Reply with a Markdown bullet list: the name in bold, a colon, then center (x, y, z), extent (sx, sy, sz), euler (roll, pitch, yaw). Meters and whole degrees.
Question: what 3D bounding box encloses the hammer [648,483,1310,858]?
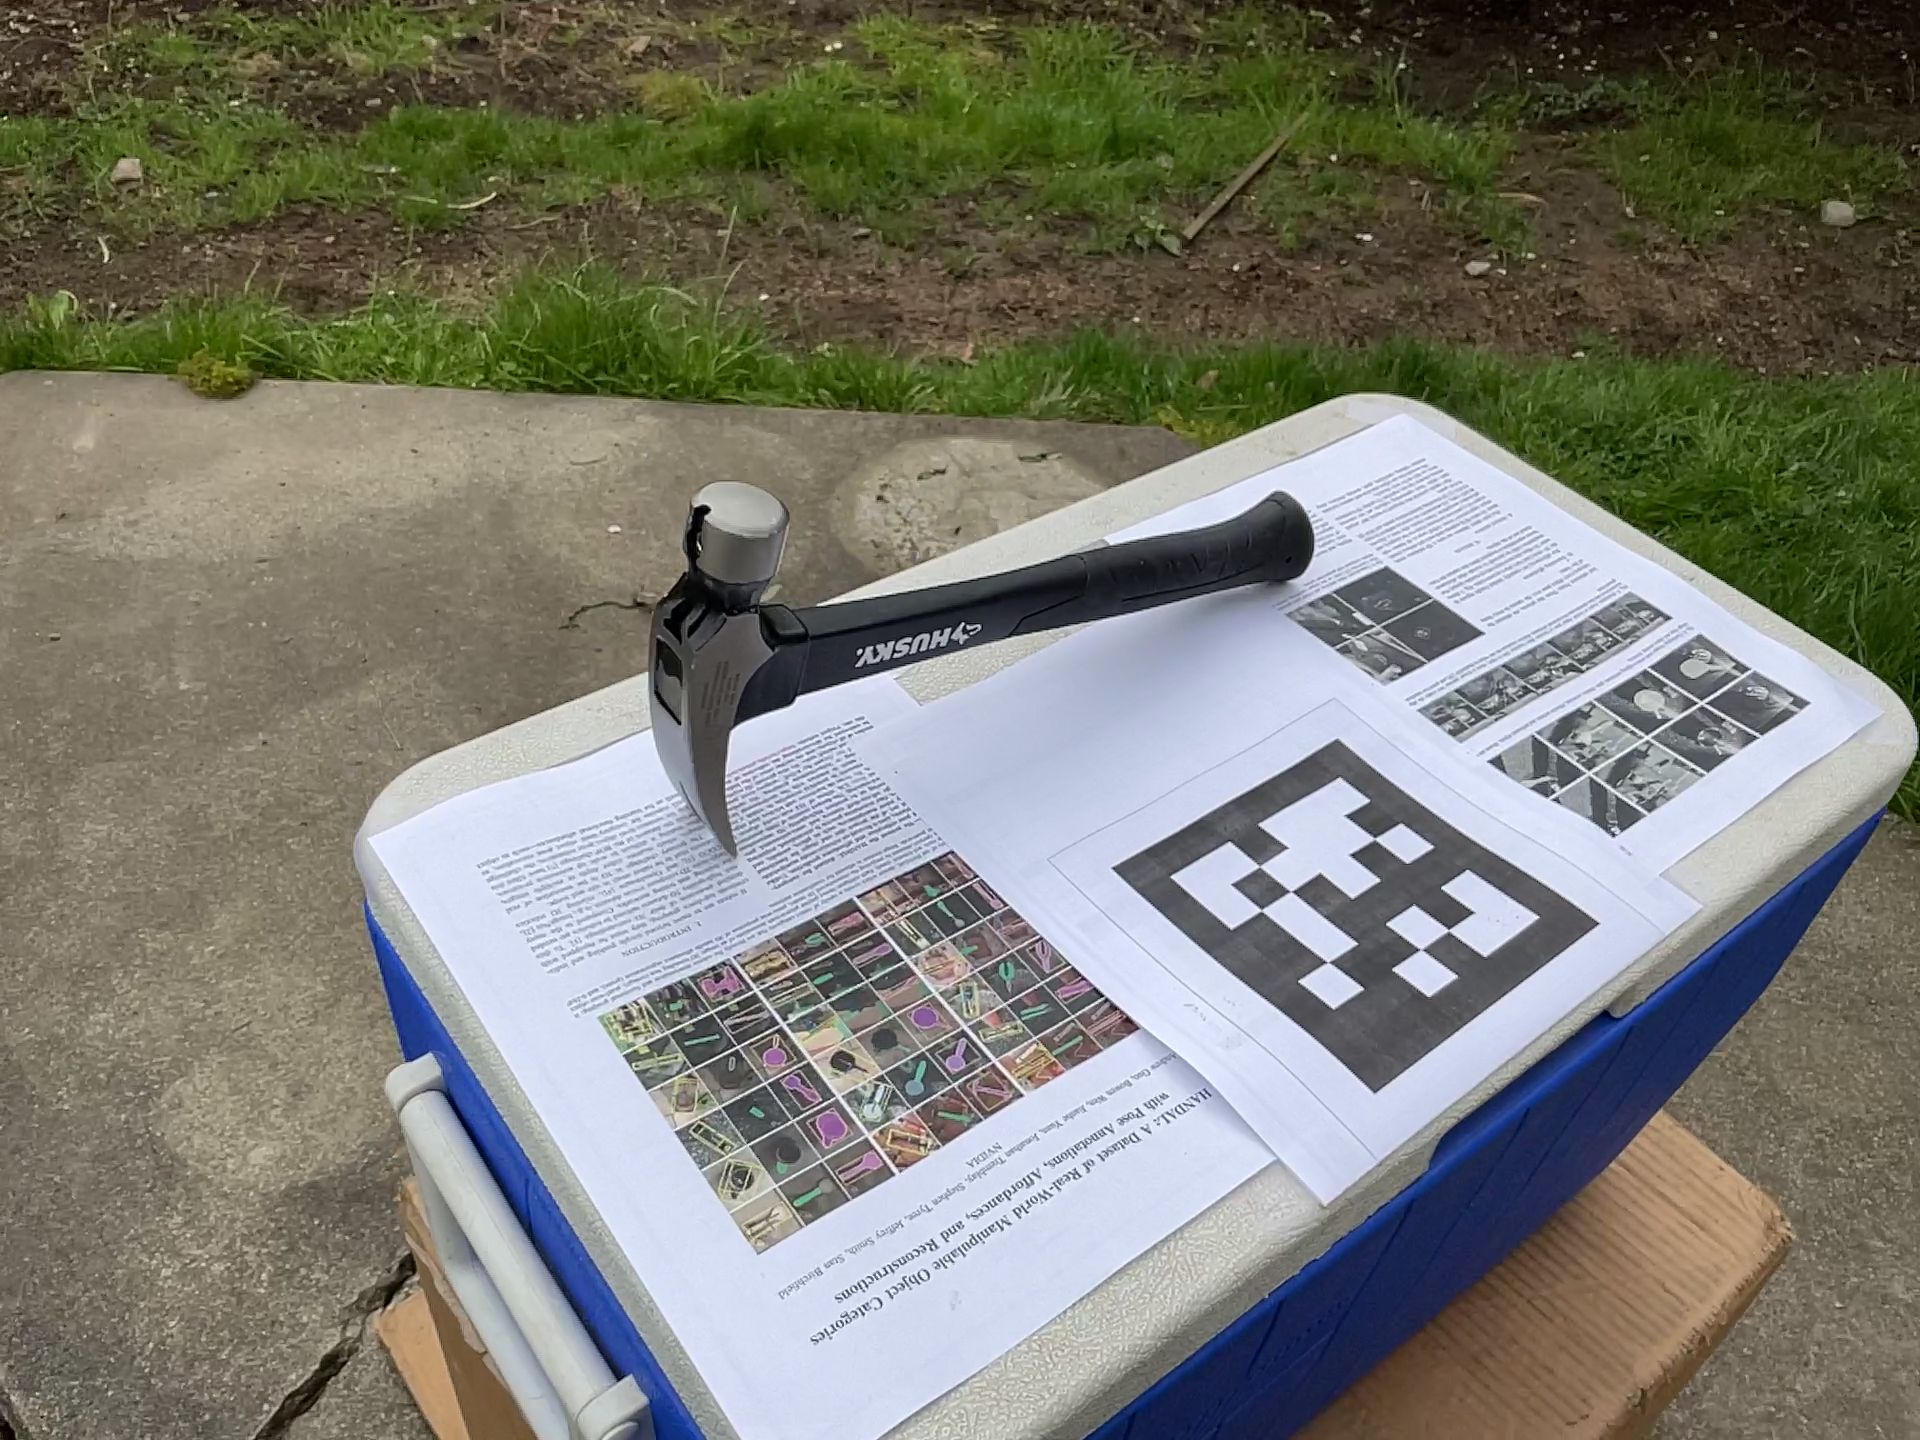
- **hammer**: center (0.025, -0.043, 0.644), extent (0.334, 0.146, 0.035), euler (-15, 47, -38)
